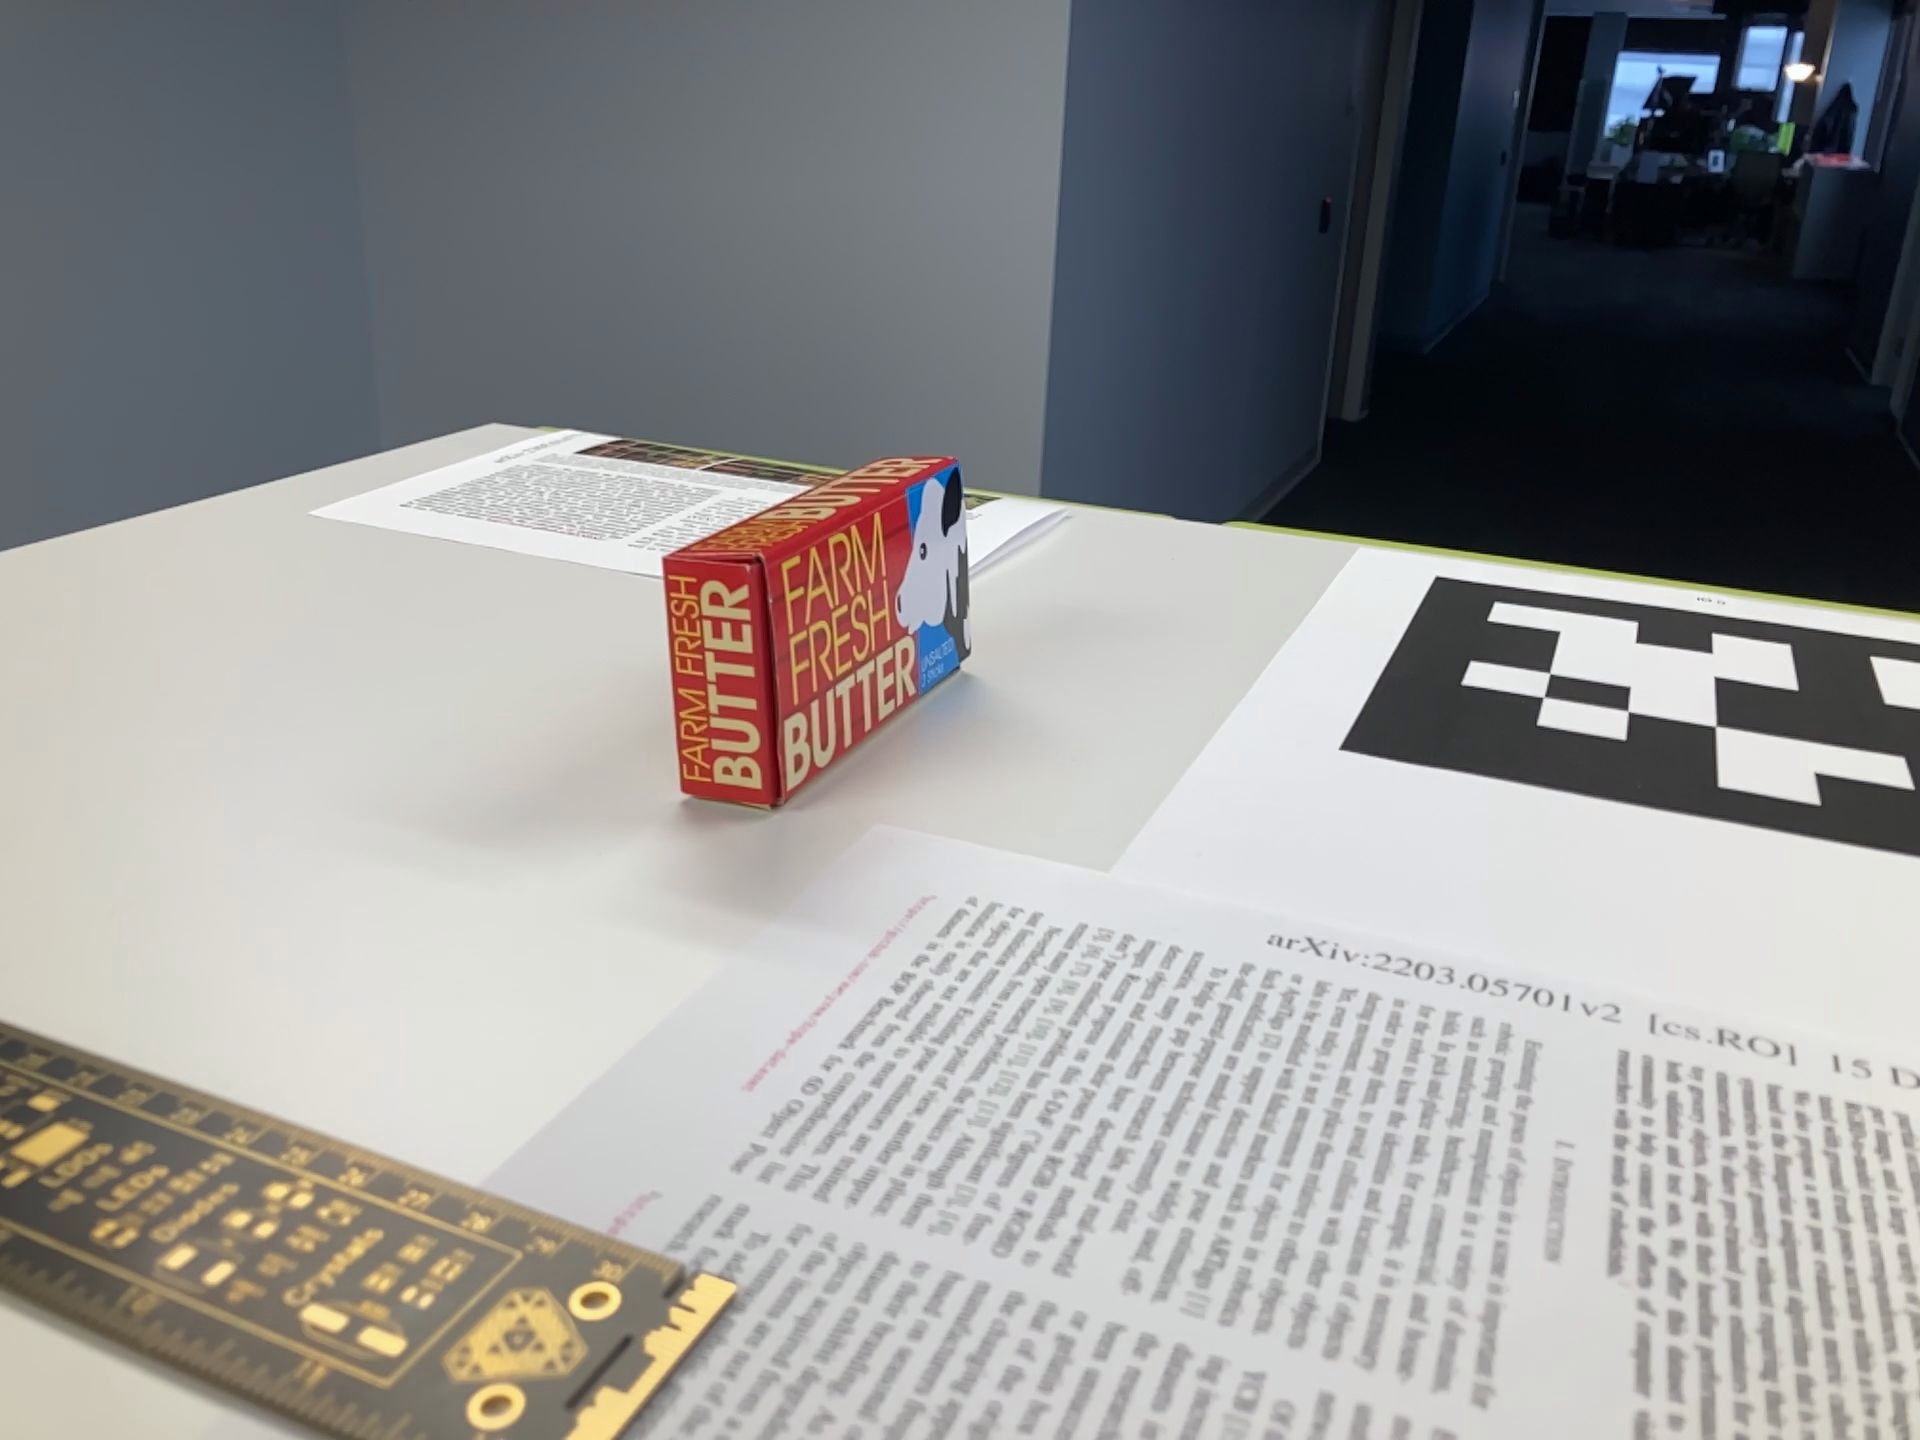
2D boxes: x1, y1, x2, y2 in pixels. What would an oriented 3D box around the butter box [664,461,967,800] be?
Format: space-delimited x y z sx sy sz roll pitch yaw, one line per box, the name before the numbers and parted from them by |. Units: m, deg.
butter box | -0.028 -0.025 0.364 0.024 0.053 0.103 6 21 22
